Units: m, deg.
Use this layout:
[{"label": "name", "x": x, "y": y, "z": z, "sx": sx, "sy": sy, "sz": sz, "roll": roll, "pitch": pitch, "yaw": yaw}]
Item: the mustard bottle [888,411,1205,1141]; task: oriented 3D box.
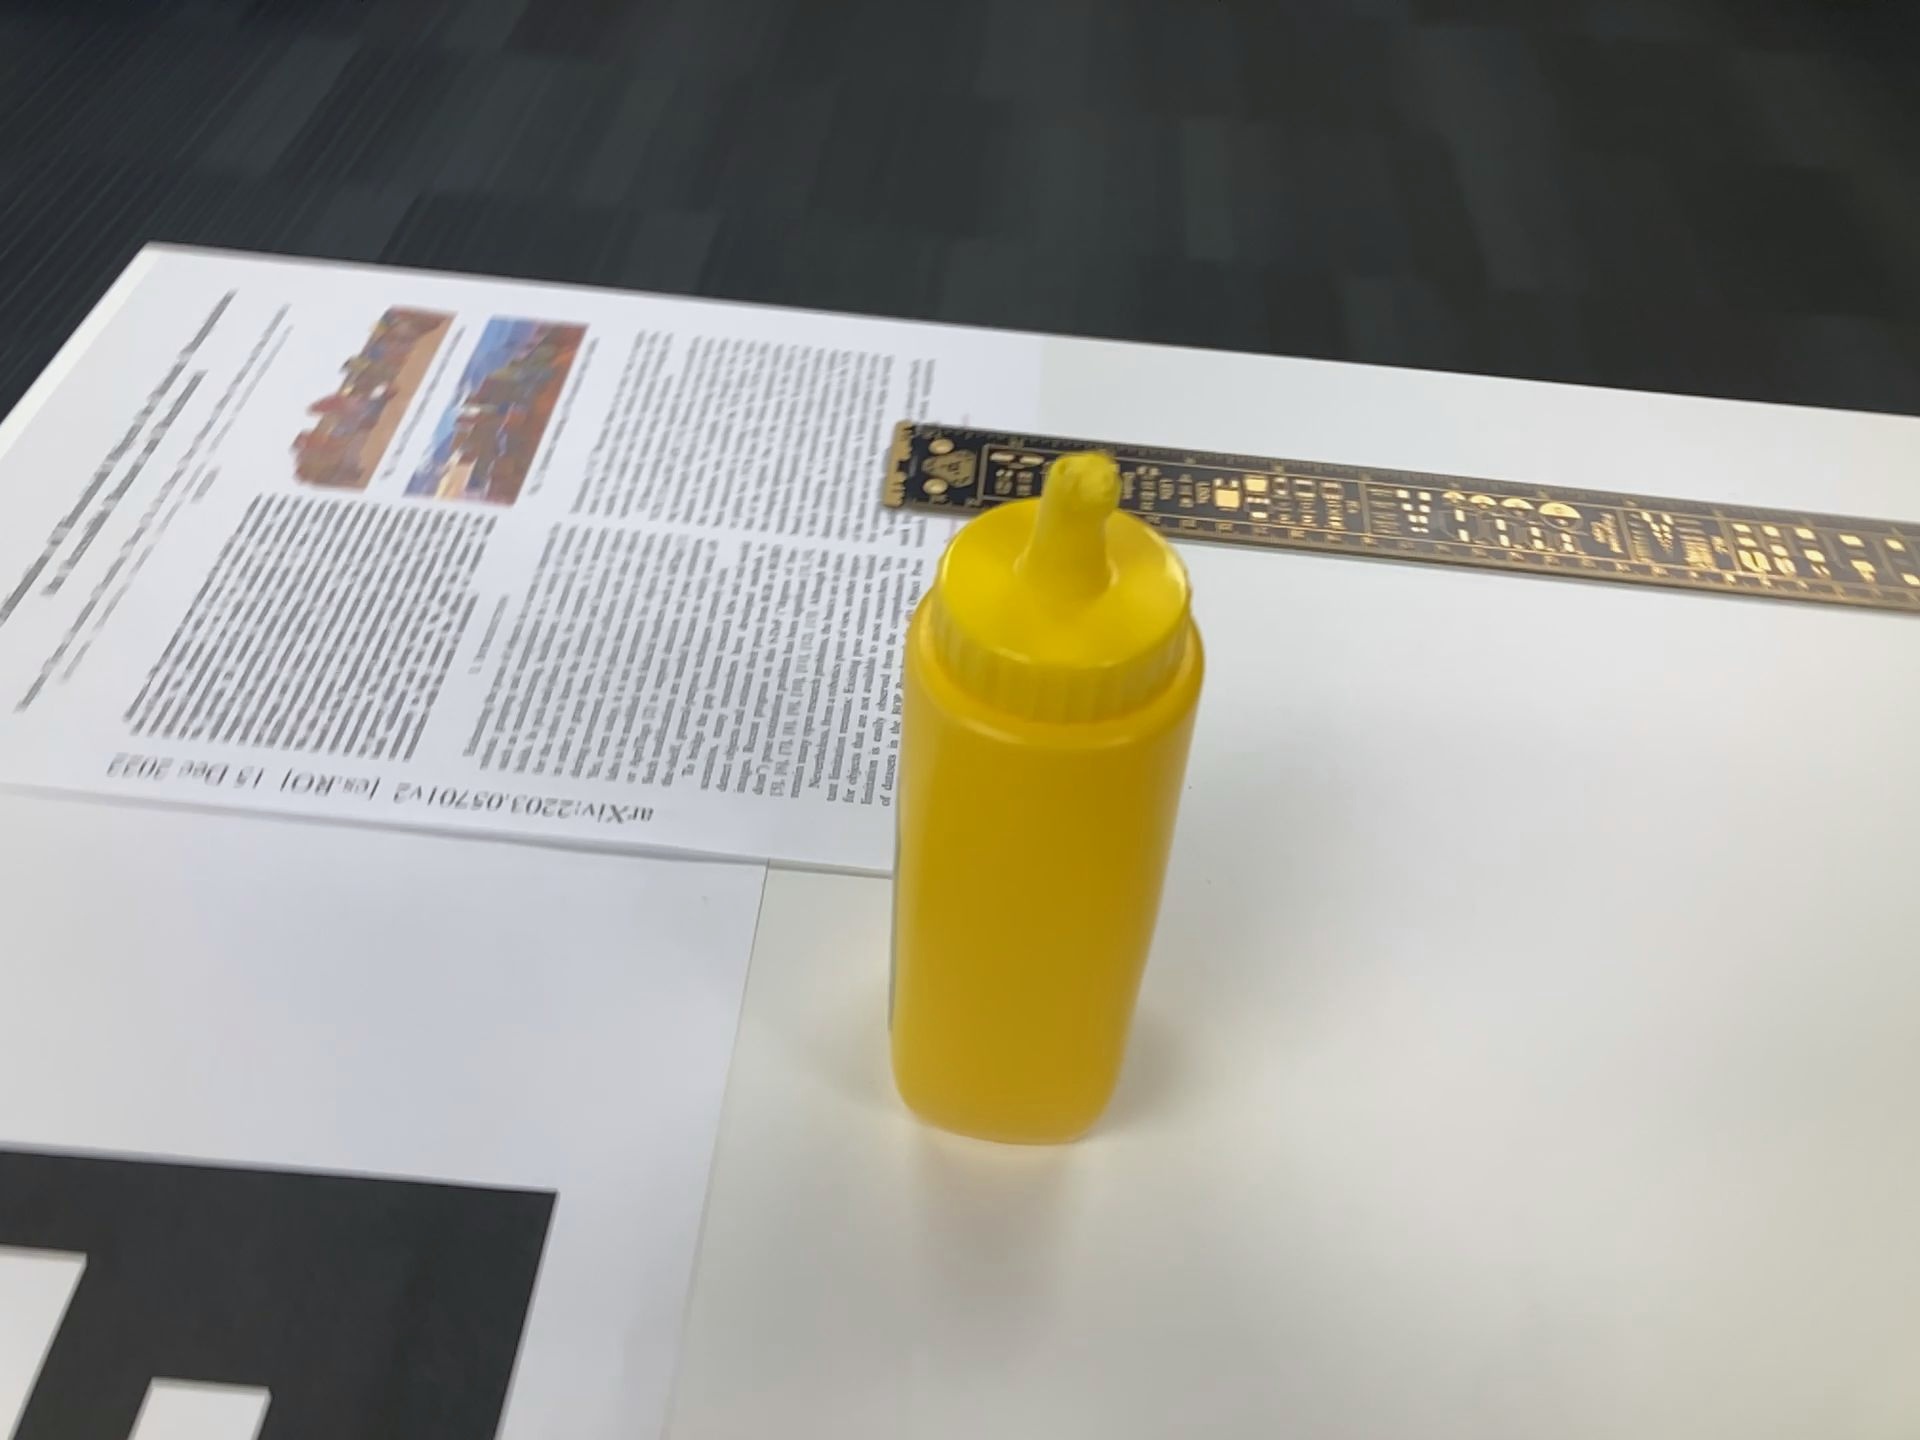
[{"label": "mustard bottle", "x": 0.013, "y": 0.011, "z": 0.274, "sx": 0.049, "sy": 0.160, "sz": 0.065, "roll": 8, "pitch": 46, "yaw": 4}]
